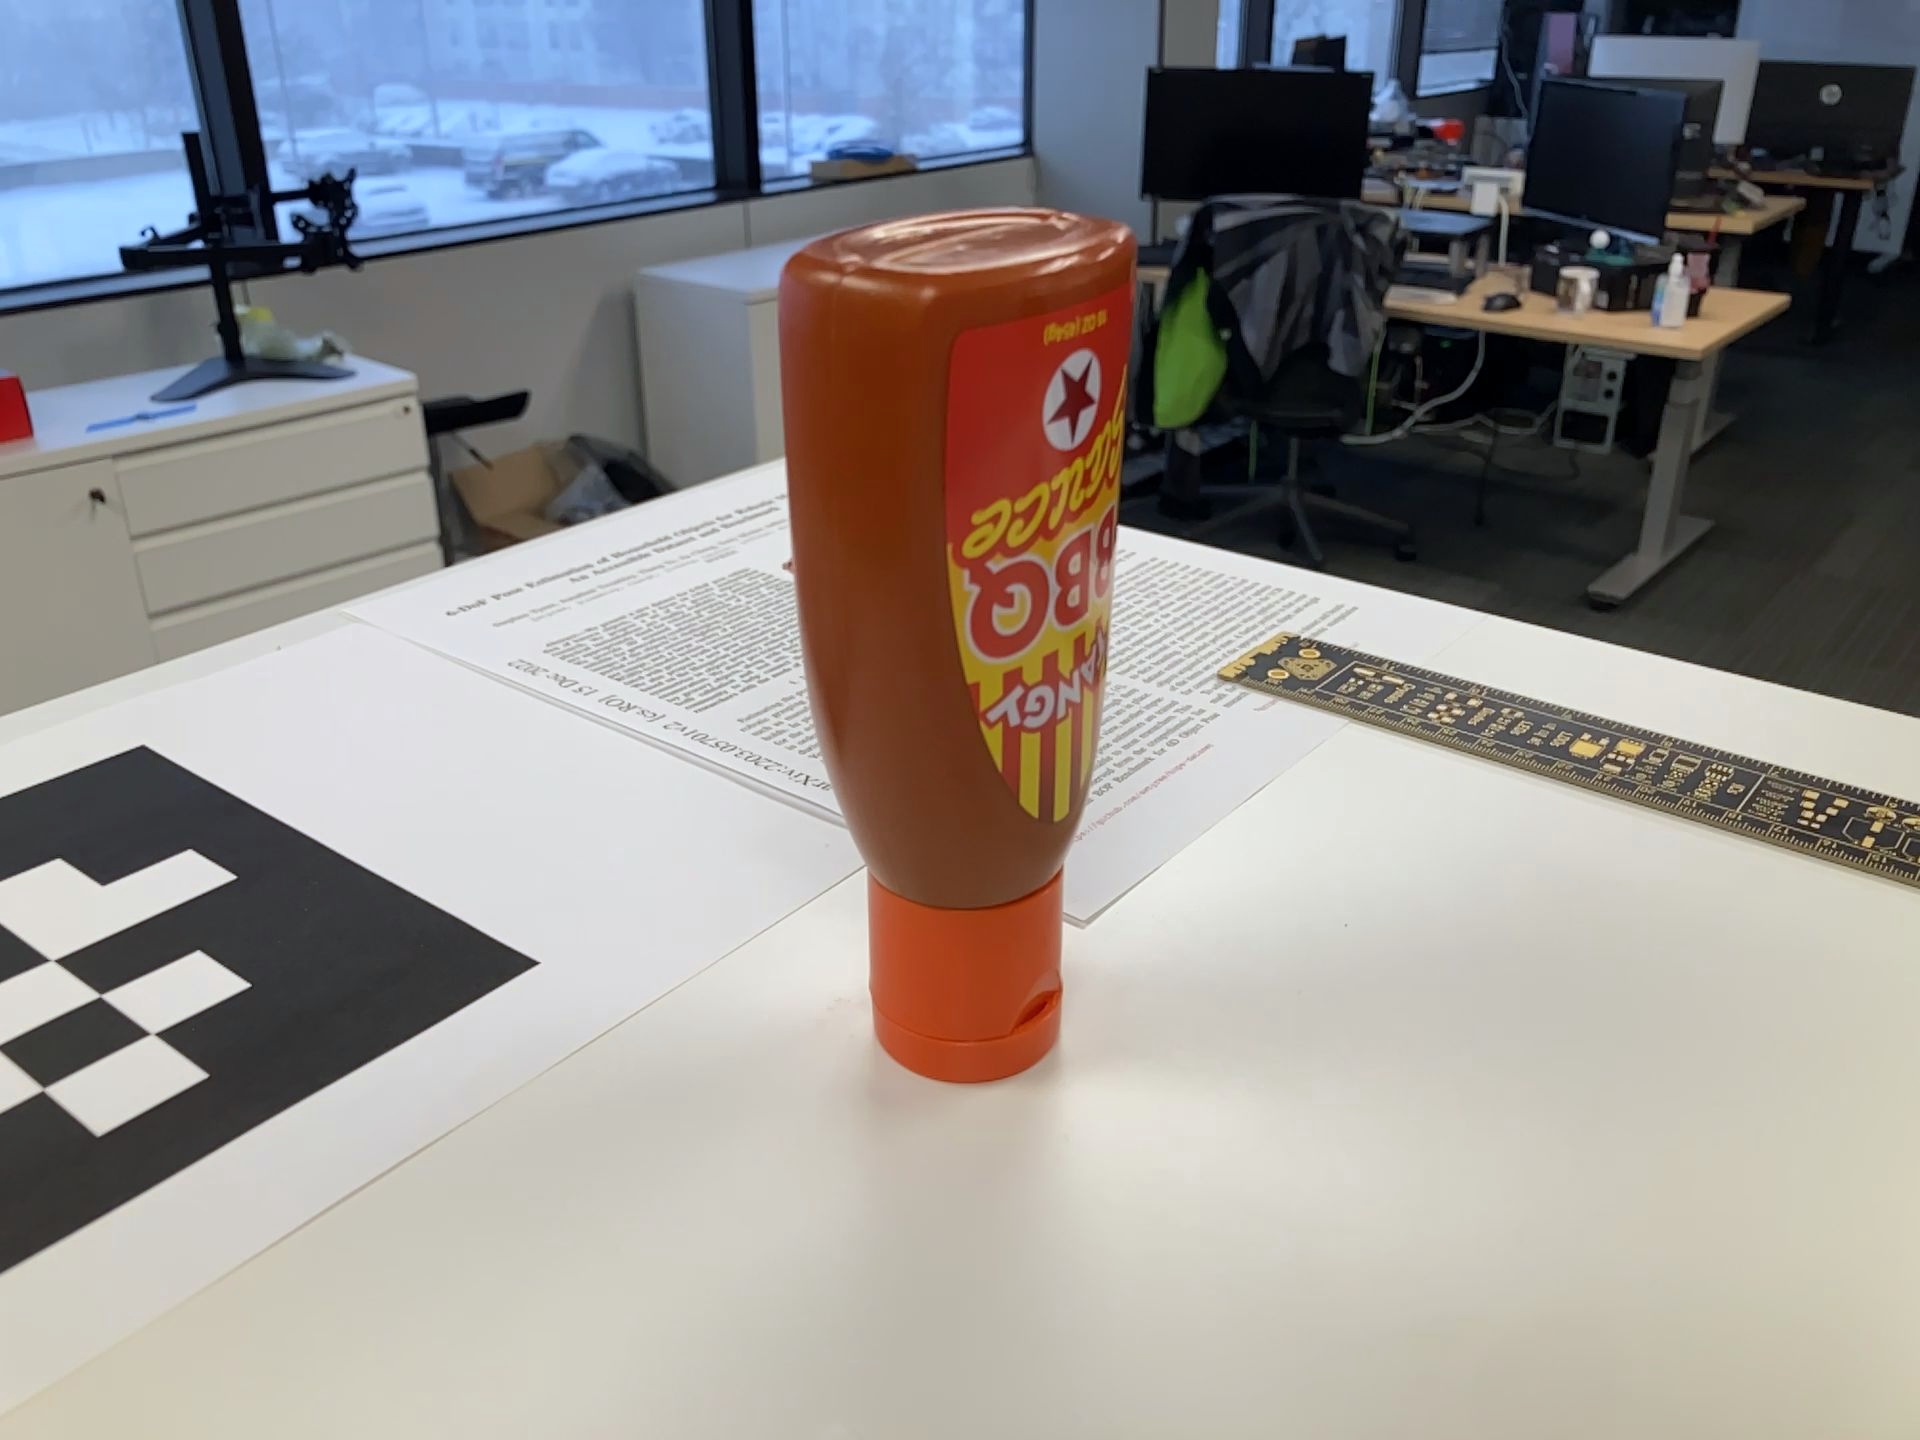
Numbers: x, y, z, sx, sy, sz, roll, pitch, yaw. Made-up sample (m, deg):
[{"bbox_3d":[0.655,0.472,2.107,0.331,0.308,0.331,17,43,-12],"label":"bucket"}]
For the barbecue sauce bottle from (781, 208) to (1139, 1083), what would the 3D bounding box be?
[{"bbox_3d":[0.001,-0.008,0.273,0.043,0.148,0.065,18,31,33],"label":"barbecue sauce bottle"}]
